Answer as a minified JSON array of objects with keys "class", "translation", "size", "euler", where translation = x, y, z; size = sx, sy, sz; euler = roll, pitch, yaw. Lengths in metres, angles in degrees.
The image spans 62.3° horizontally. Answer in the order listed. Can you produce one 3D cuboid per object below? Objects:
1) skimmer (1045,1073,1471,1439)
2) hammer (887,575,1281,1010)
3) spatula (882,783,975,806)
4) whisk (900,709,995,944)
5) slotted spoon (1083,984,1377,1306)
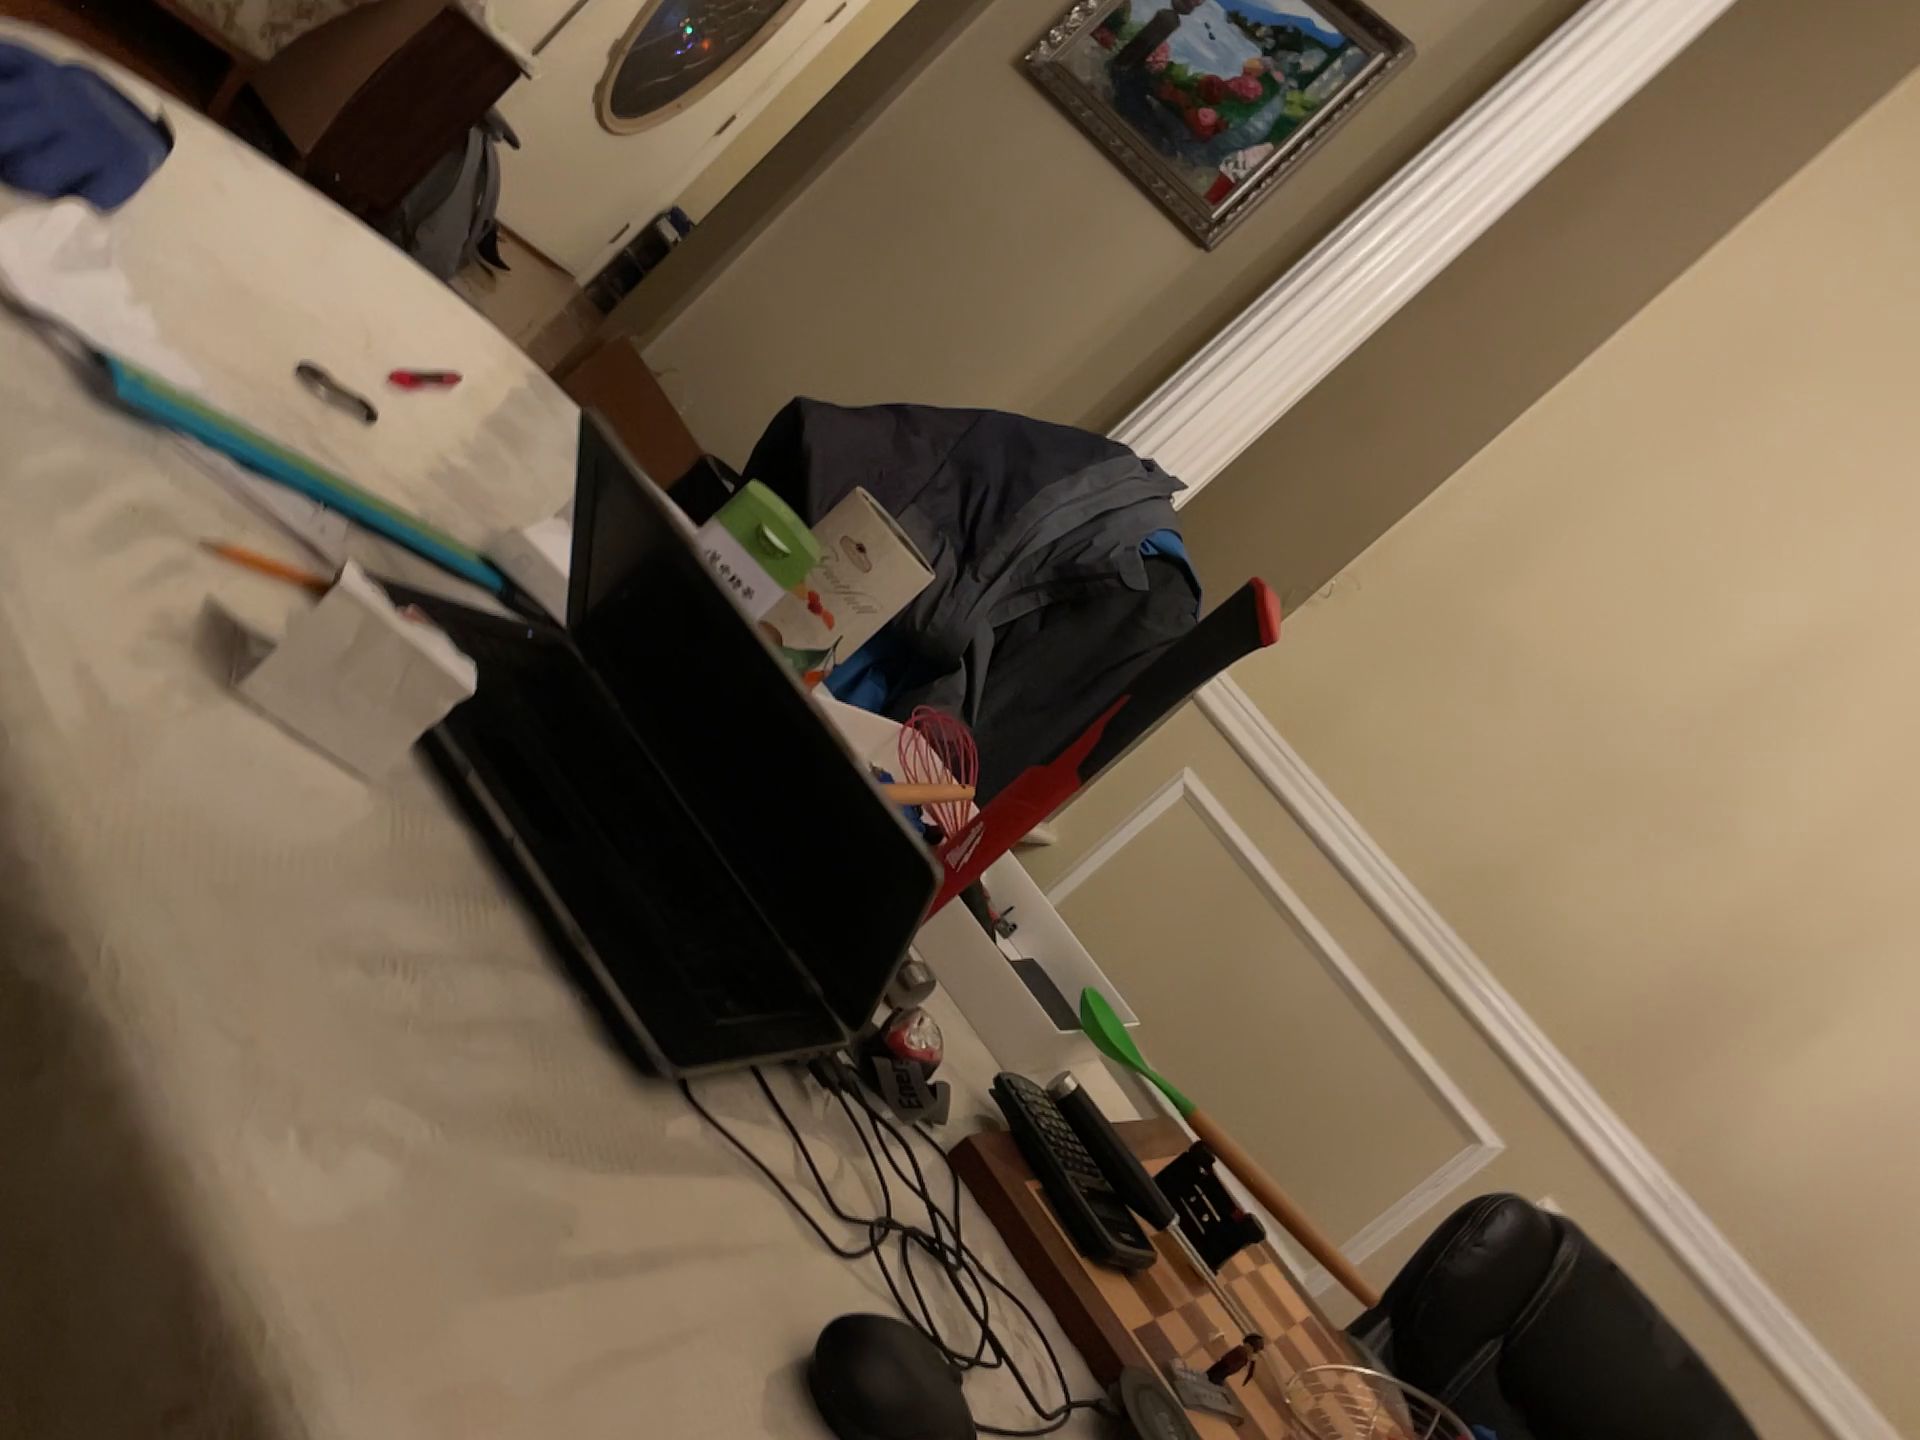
[{"class":"skimmer","translation":[0.200,0.371,1.077],"size":[0.363,0.090,0.127],"euler":[52,11,0]},{"class":"hammer","translation":[0.060,0.028,1.110],"size":[0.143,0.386,0.038],"euler":[53,11,26]},{"class":"spatula","translation":[-0.090,0.052,1.215],"size":[0.317,0.044,0.082],"euler":[1,43,-49]},{"class":"whisk","translation":[-0.006,0.098,1.440],"size":[0.073,0.073,0.296],"euler":[21,38,-31]},{"class":"slotted spoon","translation":[0.192,0.314,1.193],"size":[0.314,0.031,0.070],"euler":[44,3,35]}]
